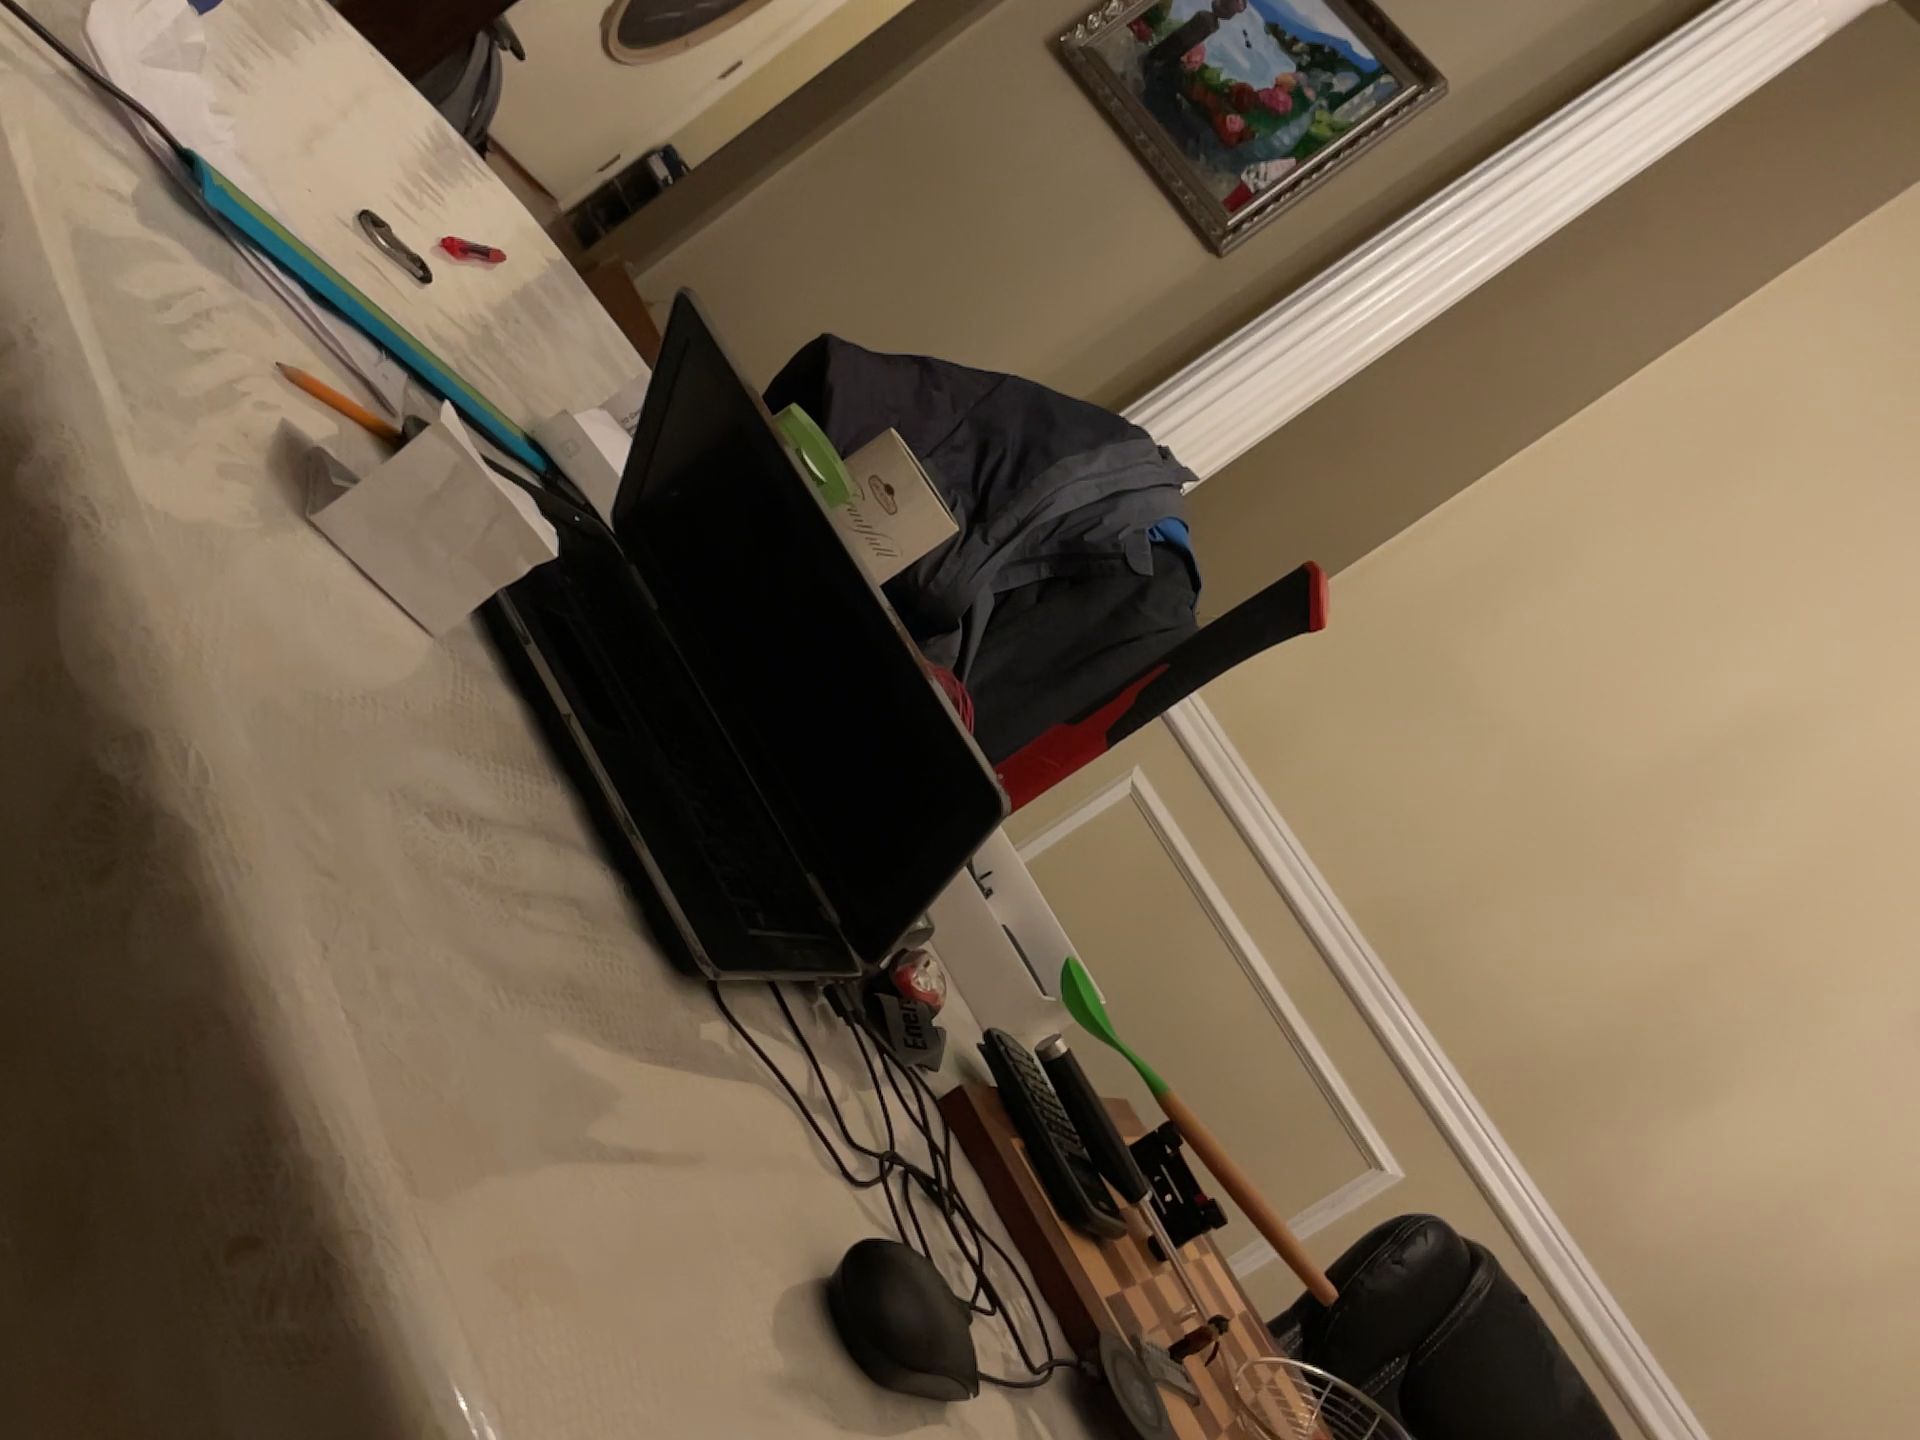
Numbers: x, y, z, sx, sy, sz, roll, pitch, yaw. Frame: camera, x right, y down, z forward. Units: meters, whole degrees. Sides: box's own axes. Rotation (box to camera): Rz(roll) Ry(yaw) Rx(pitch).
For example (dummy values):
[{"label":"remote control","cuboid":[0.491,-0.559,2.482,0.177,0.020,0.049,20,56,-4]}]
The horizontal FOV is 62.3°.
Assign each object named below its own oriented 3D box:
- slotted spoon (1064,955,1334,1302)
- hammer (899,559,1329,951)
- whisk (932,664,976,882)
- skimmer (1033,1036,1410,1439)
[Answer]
[{"label":"slotted spoon","cuboid":[0.169,0.299,1.184,0.314,0.031,0.070,49,1,32]},{"label":"hammer","cuboid":[0.078,-0.001,1.093,0.143,0.386,0.038,59,8,24]},{"label":"whisk","cuboid":[-0.014,0.057,1.420,0.073,0.073,0.296,28,36,-34]},{"label":"skimmer","cuboid":[0.176,0.358,1.070,0.363,0.090,0.127,59,9,-3]}]
